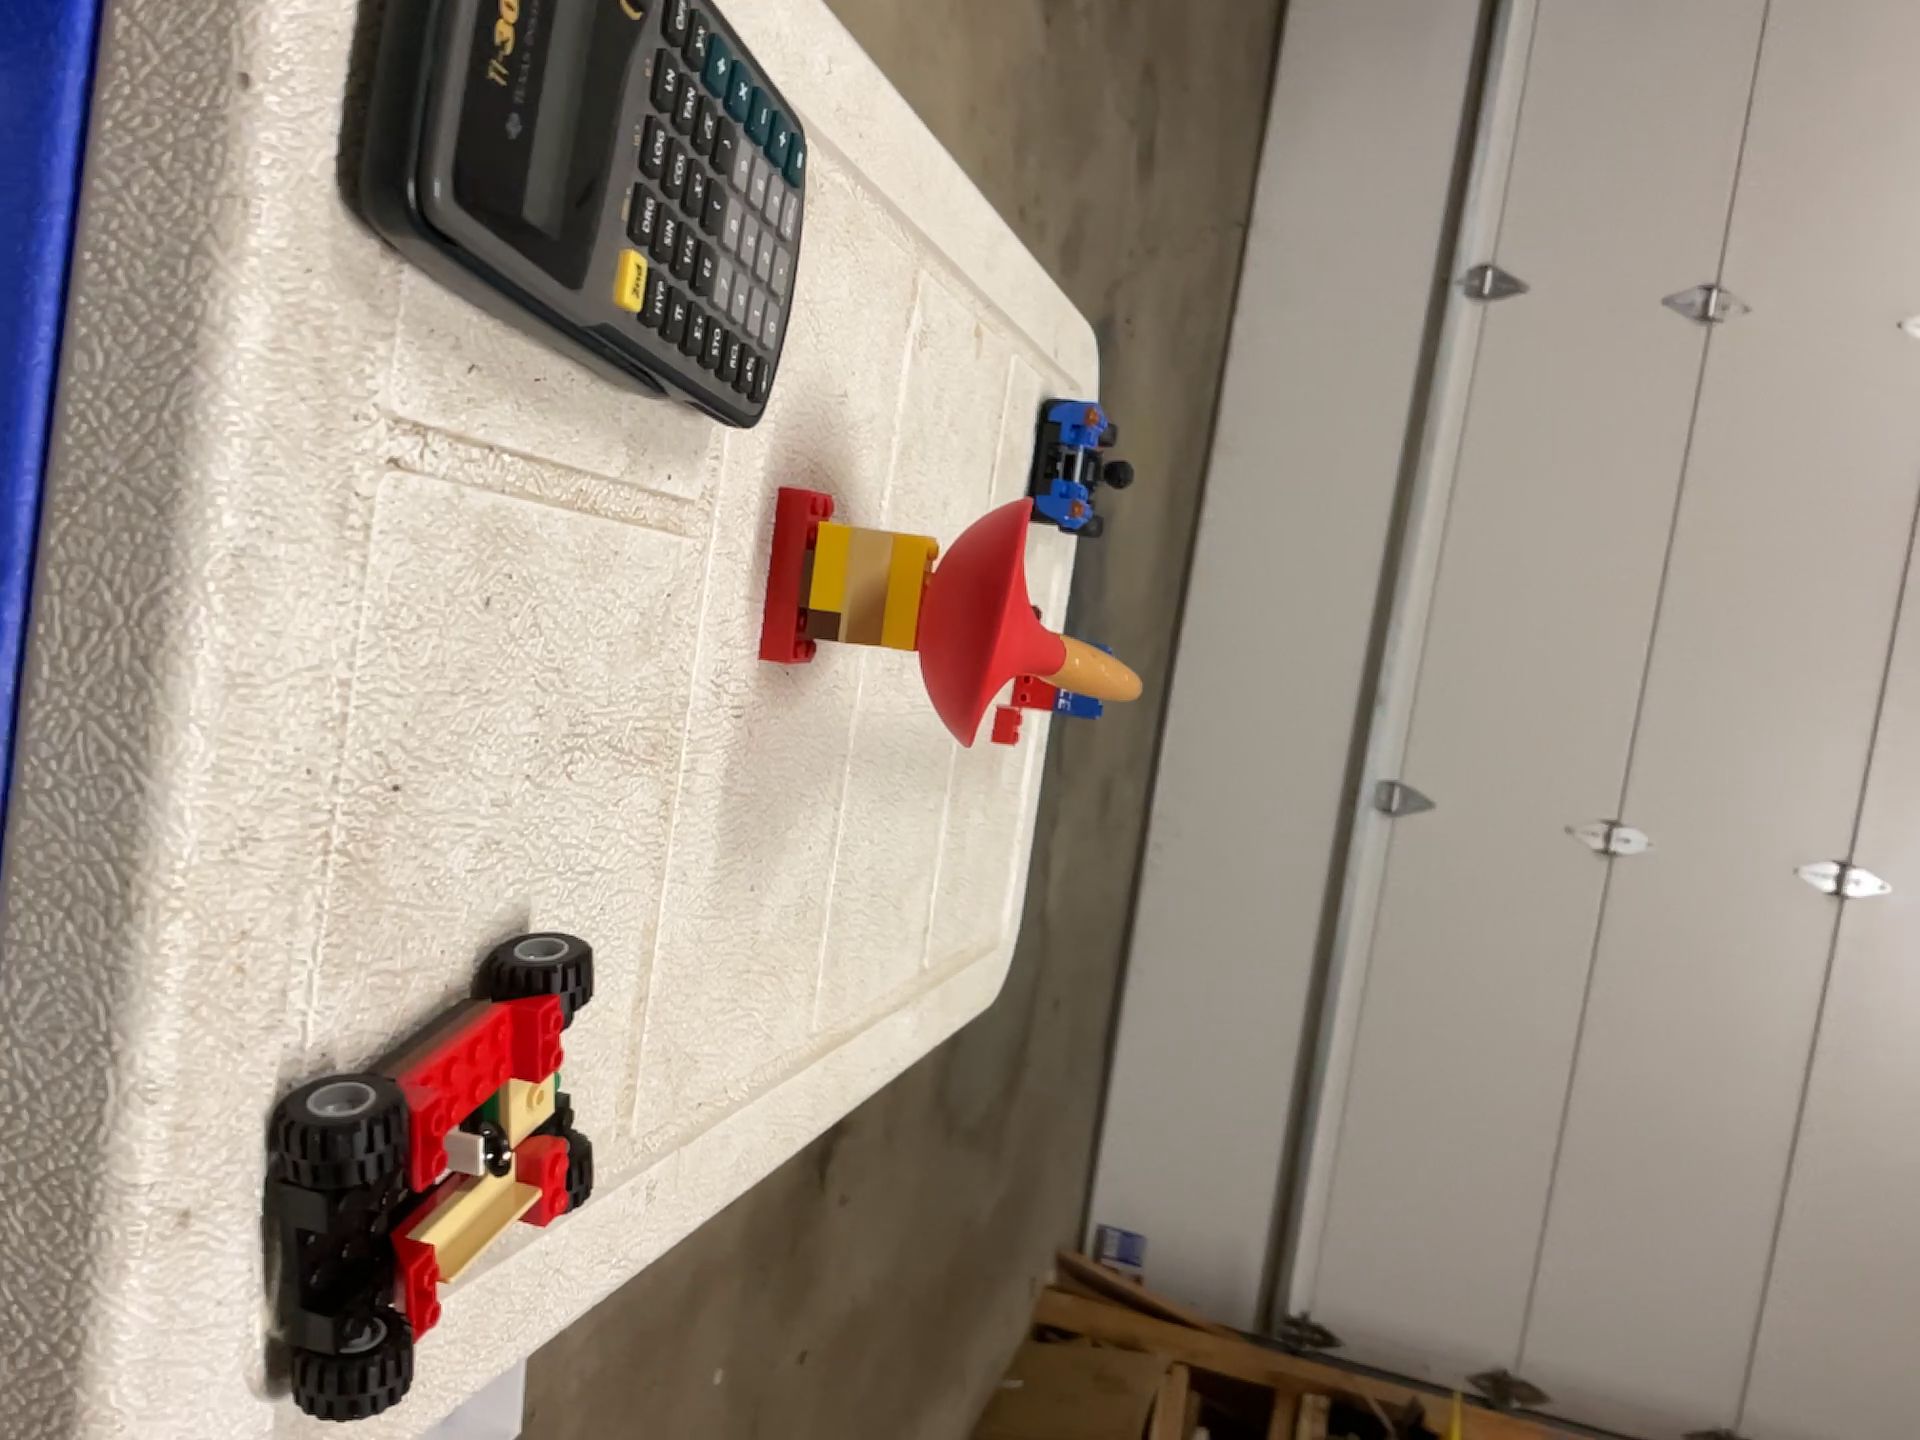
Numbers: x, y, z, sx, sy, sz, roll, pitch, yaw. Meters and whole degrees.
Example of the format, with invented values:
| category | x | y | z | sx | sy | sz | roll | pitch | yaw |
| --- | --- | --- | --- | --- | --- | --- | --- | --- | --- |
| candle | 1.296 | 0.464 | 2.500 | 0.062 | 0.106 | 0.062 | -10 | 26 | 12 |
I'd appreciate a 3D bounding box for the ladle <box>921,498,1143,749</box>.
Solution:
| category | x | y | z | sx | sy | sz | roll | pitch | yaw |
| --- | --- | --- | --- | --- | --- | --- | --- | --- | --- |
| ladle | 0.036 | -0.021 | 0.546 | 0.315 | 0.031 | 0.069 | 11 | 93 | -75 |
